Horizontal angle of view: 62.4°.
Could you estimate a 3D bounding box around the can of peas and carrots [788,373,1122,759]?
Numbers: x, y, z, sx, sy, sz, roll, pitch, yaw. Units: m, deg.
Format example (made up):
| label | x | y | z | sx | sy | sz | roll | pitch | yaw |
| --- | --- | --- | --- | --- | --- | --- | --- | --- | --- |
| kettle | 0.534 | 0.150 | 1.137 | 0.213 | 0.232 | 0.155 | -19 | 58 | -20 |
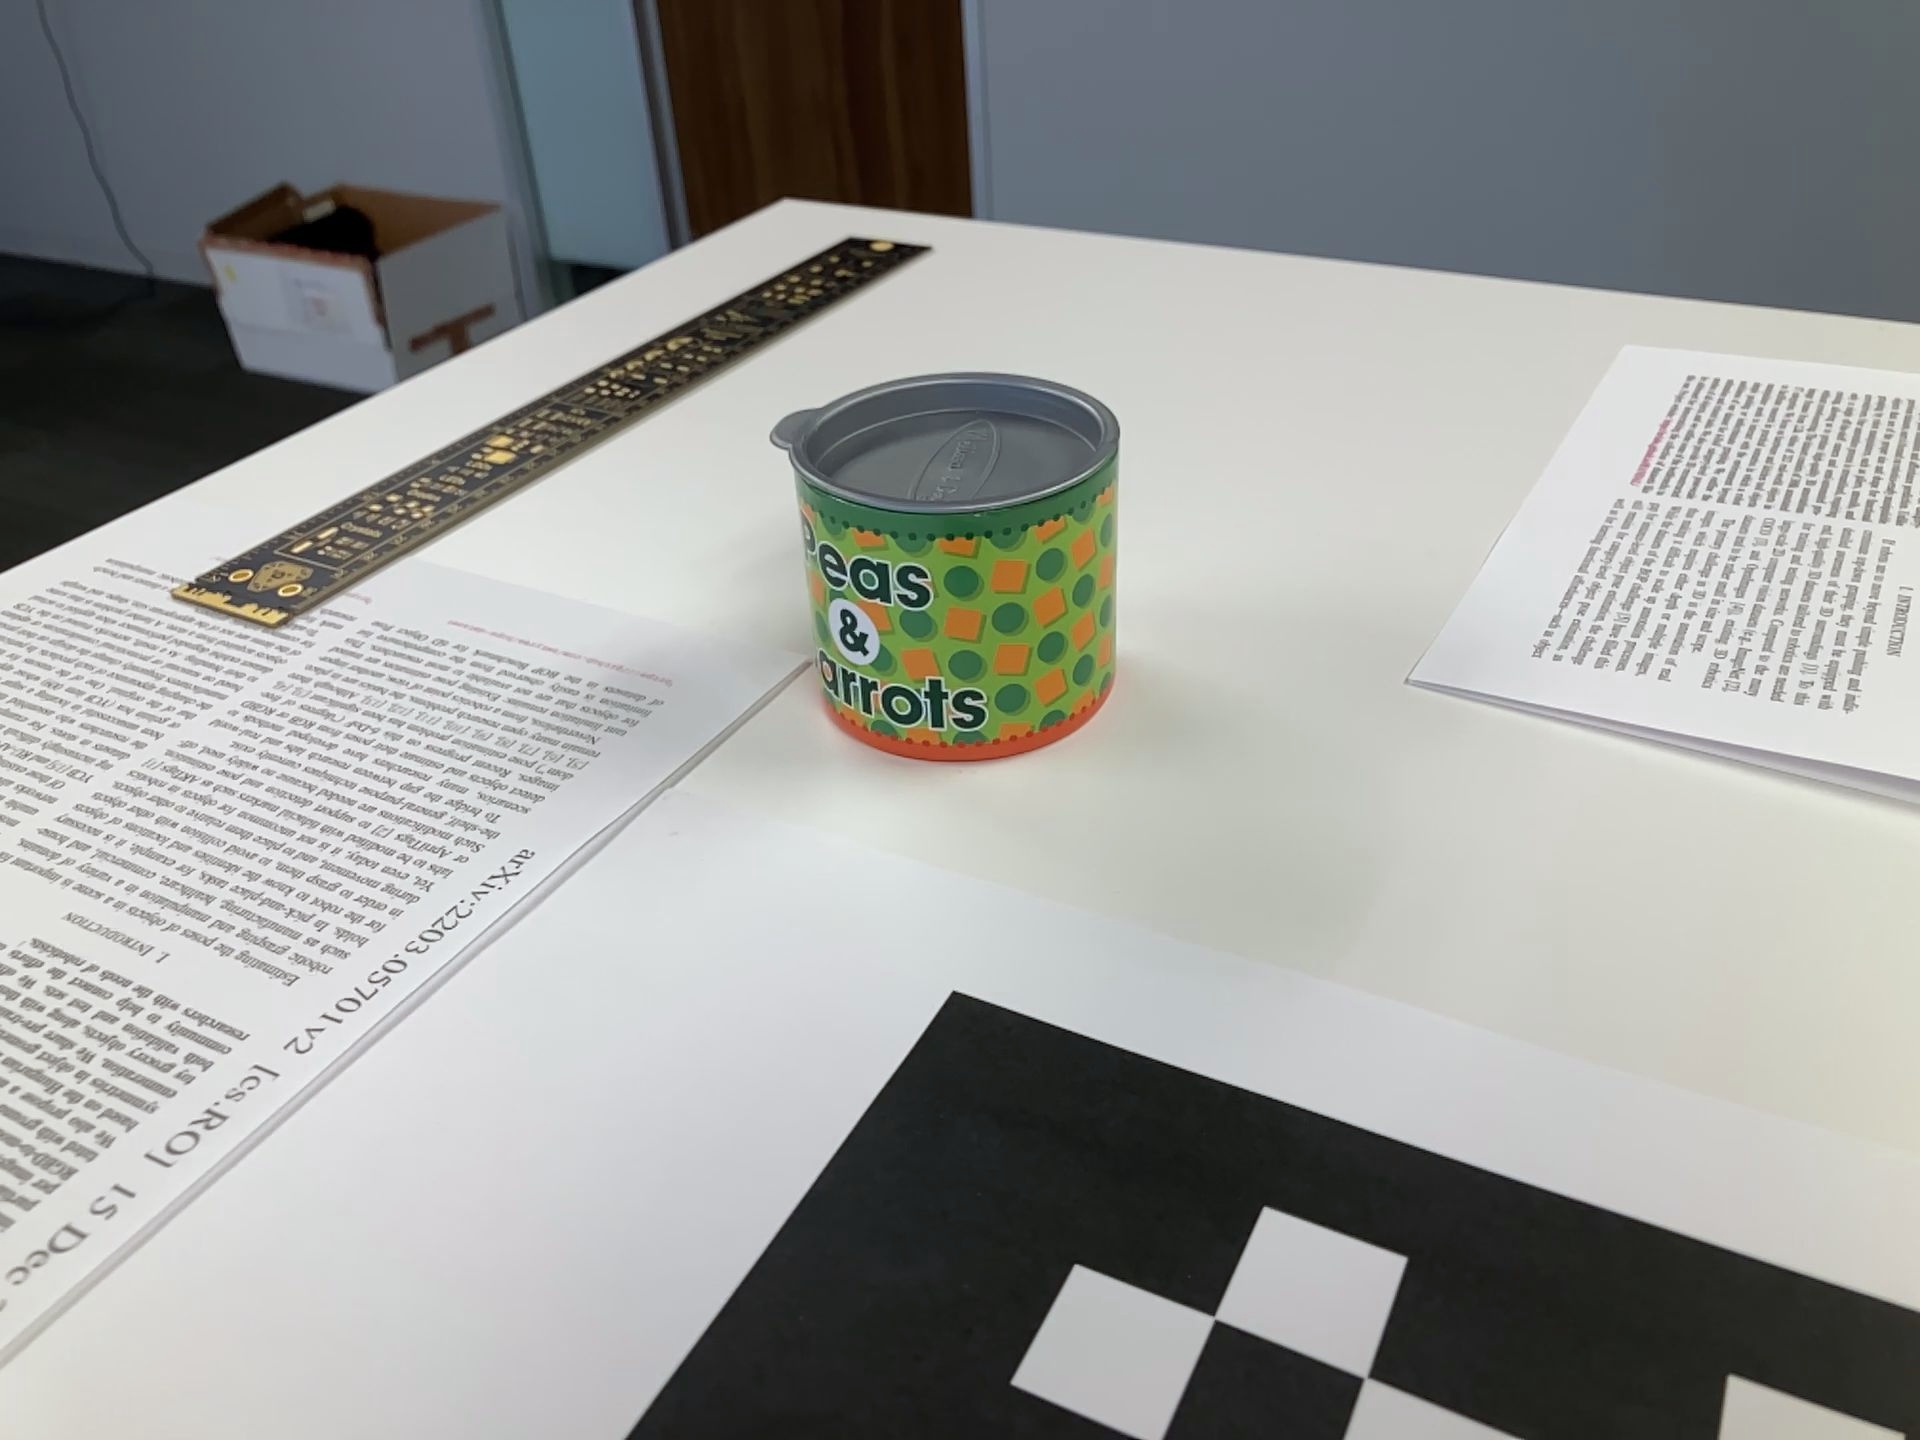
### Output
| label | x | y | z | sx | sy | sz | roll | pitch | yaw |
| --- | --- | --- | --- | --- | --- | --- | --- | --- | --- |
| can of peas and carrots | -0.002 | -0.032 | 0.330 | 0.071 | 0.059 | 0.071 | -2 | 33 | 1 |
